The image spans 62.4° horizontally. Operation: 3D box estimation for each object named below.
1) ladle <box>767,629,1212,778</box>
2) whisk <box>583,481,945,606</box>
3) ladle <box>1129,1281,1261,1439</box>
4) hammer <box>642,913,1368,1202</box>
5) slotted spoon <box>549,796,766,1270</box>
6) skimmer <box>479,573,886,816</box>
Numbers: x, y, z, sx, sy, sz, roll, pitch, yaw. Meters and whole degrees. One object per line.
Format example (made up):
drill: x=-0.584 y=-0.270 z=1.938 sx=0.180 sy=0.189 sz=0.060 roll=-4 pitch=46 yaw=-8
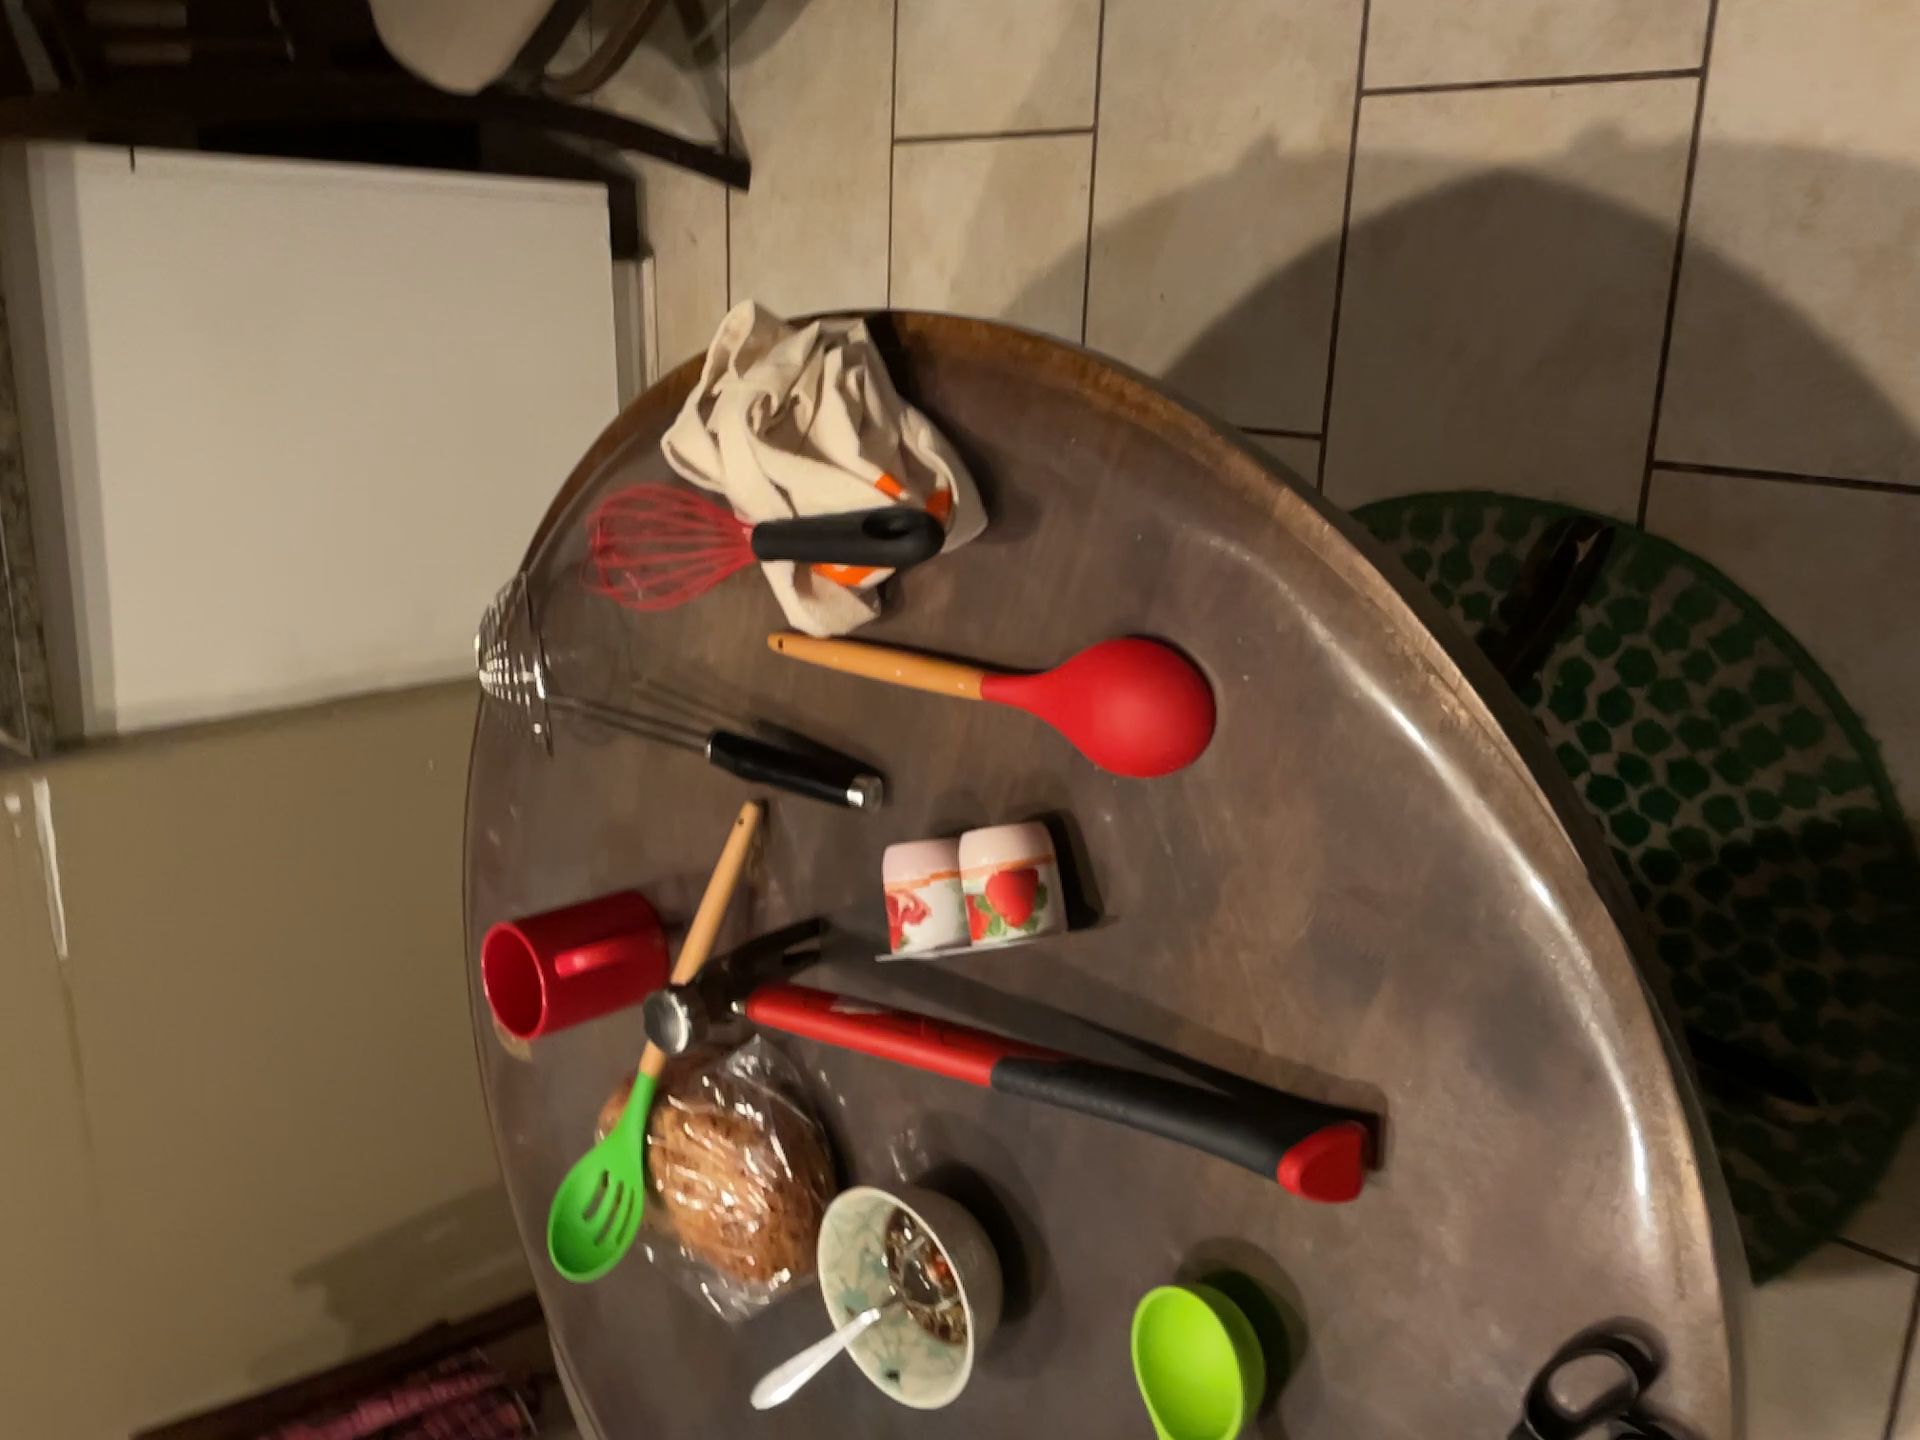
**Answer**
ladle: x=-0.003 y=-0.024 z=0.842 sx=0.316 sy=0.031 sz=0.069 roll=13 pitch=108 yaw=44
whisk: x=-0.118 y=-0.099 z=0.868 sx=0.296 sy=0.073 sz=0.073 roll=4 pitch=101 yaw=44
ladle: x=0.061 y=0.415 z=0.723 sx=0.062 sy=0.320 sz=0.078 roll=38 pitch=153 yaw=-22
hammer: x=0.025 y=0.171 z=0.825 sx=0.387 sy=0.143 sz=0.038 roll=8 pitch=107 yaw=31
slotted spoon: x=-0.183 y=0.195 z=0.995 sx=0.070 sy=0.031 sz=0.314 roll=23 pitch=92 yaw=35
skimmer: x=-0.182 y=-0.007 z=1.020 sx=0.364 sy=0.090 sz=0.127 roll=15 pitch=118 yaw=31
